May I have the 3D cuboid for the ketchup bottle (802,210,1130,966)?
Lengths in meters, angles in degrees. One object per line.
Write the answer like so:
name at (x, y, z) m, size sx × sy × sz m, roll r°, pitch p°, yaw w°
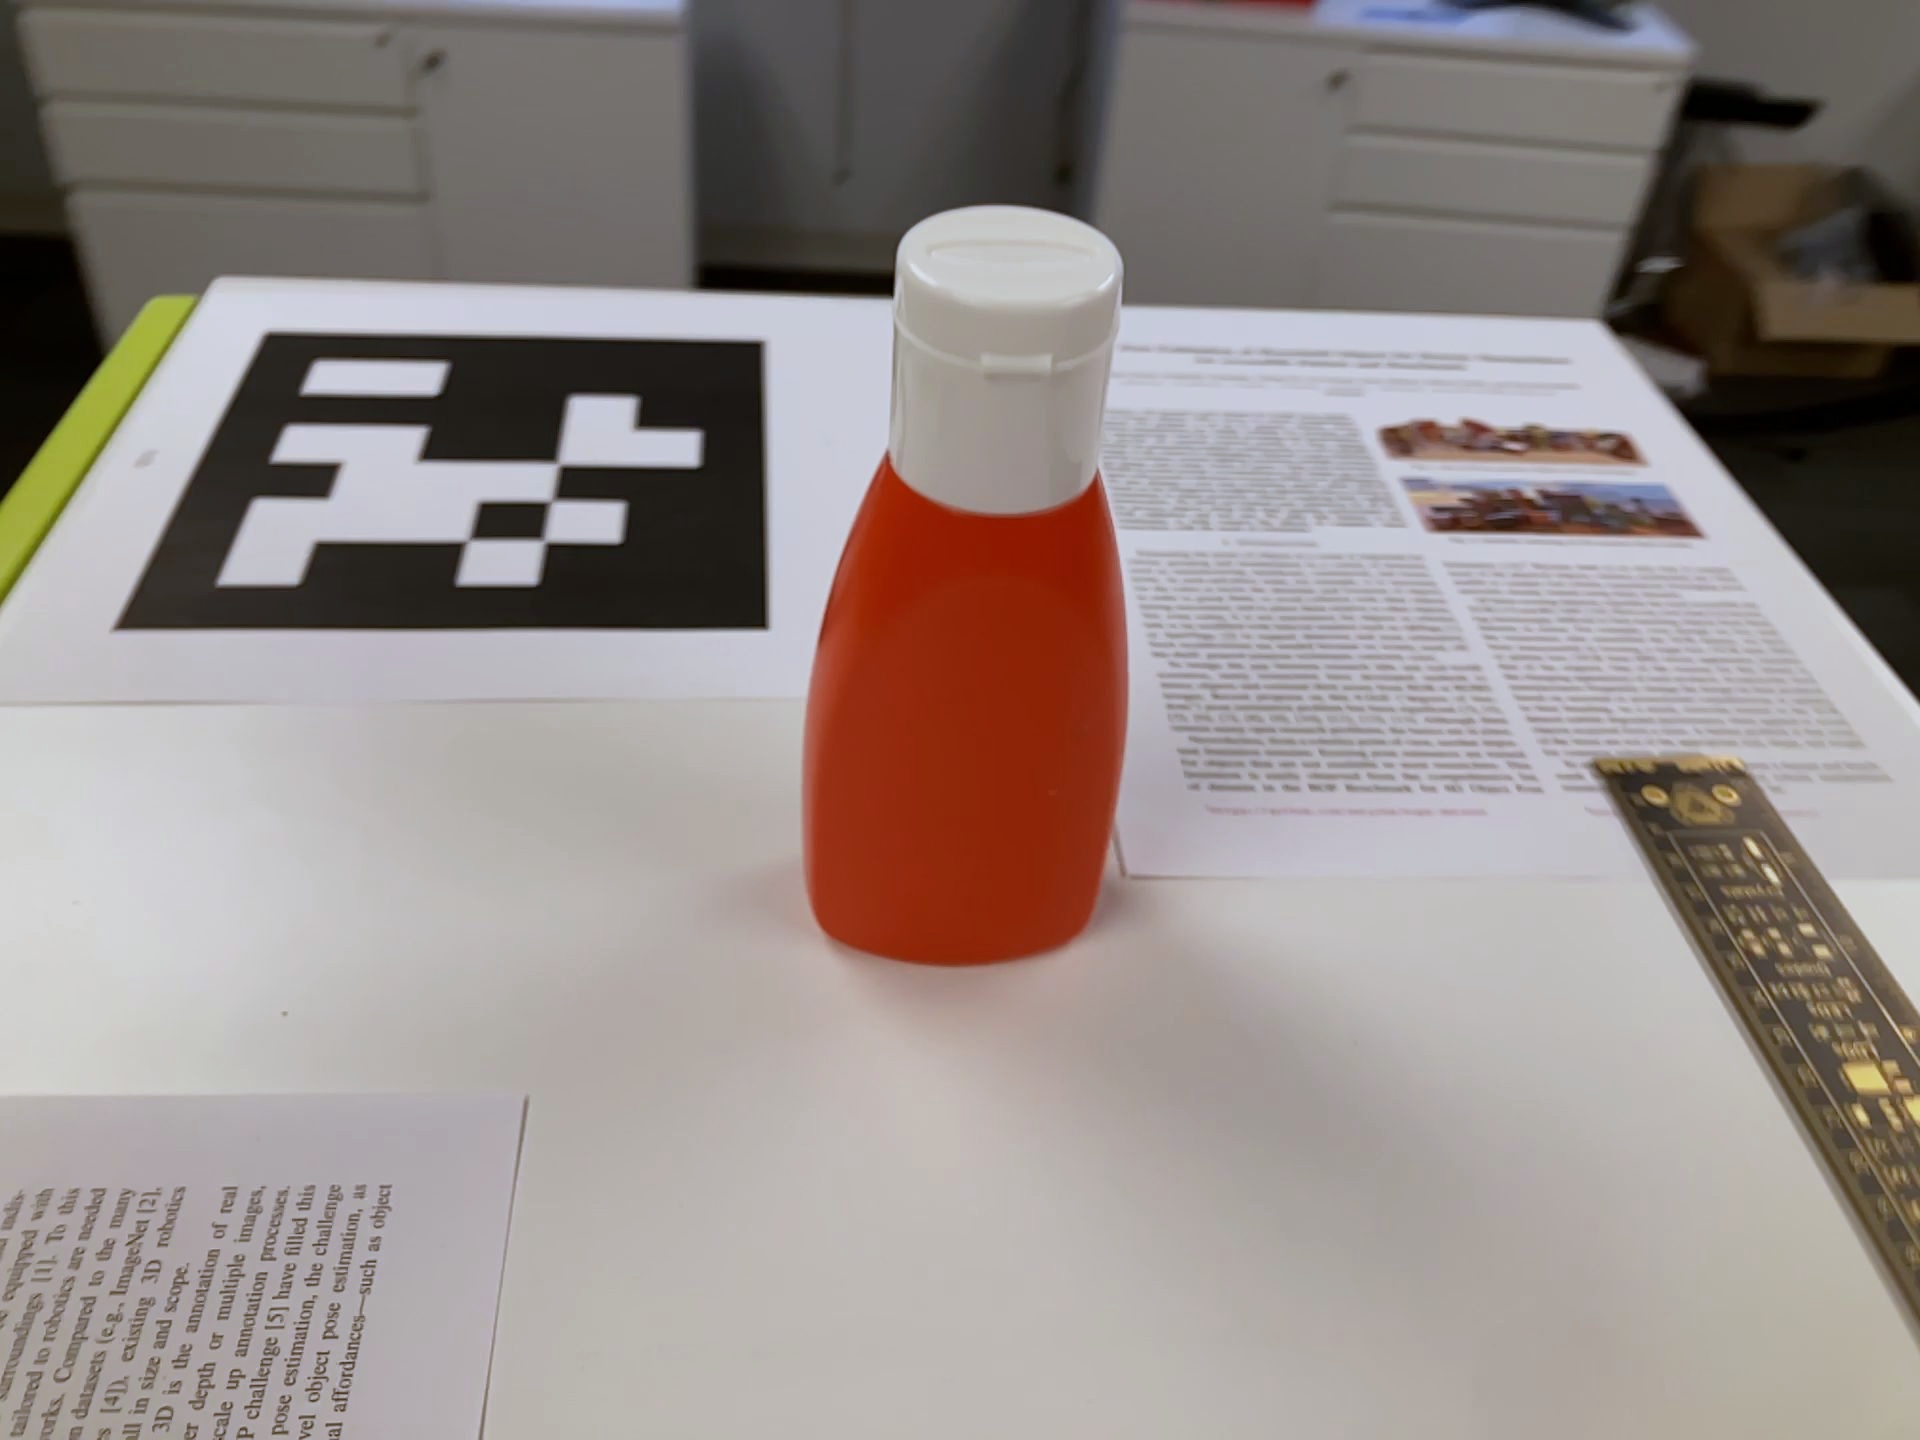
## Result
ketchup bottle at (0.003, -0.017, 0.300) m, size 0.065 × 0.149 × 0.043 m, roll 1°, pitch 41°, yaw -5°
